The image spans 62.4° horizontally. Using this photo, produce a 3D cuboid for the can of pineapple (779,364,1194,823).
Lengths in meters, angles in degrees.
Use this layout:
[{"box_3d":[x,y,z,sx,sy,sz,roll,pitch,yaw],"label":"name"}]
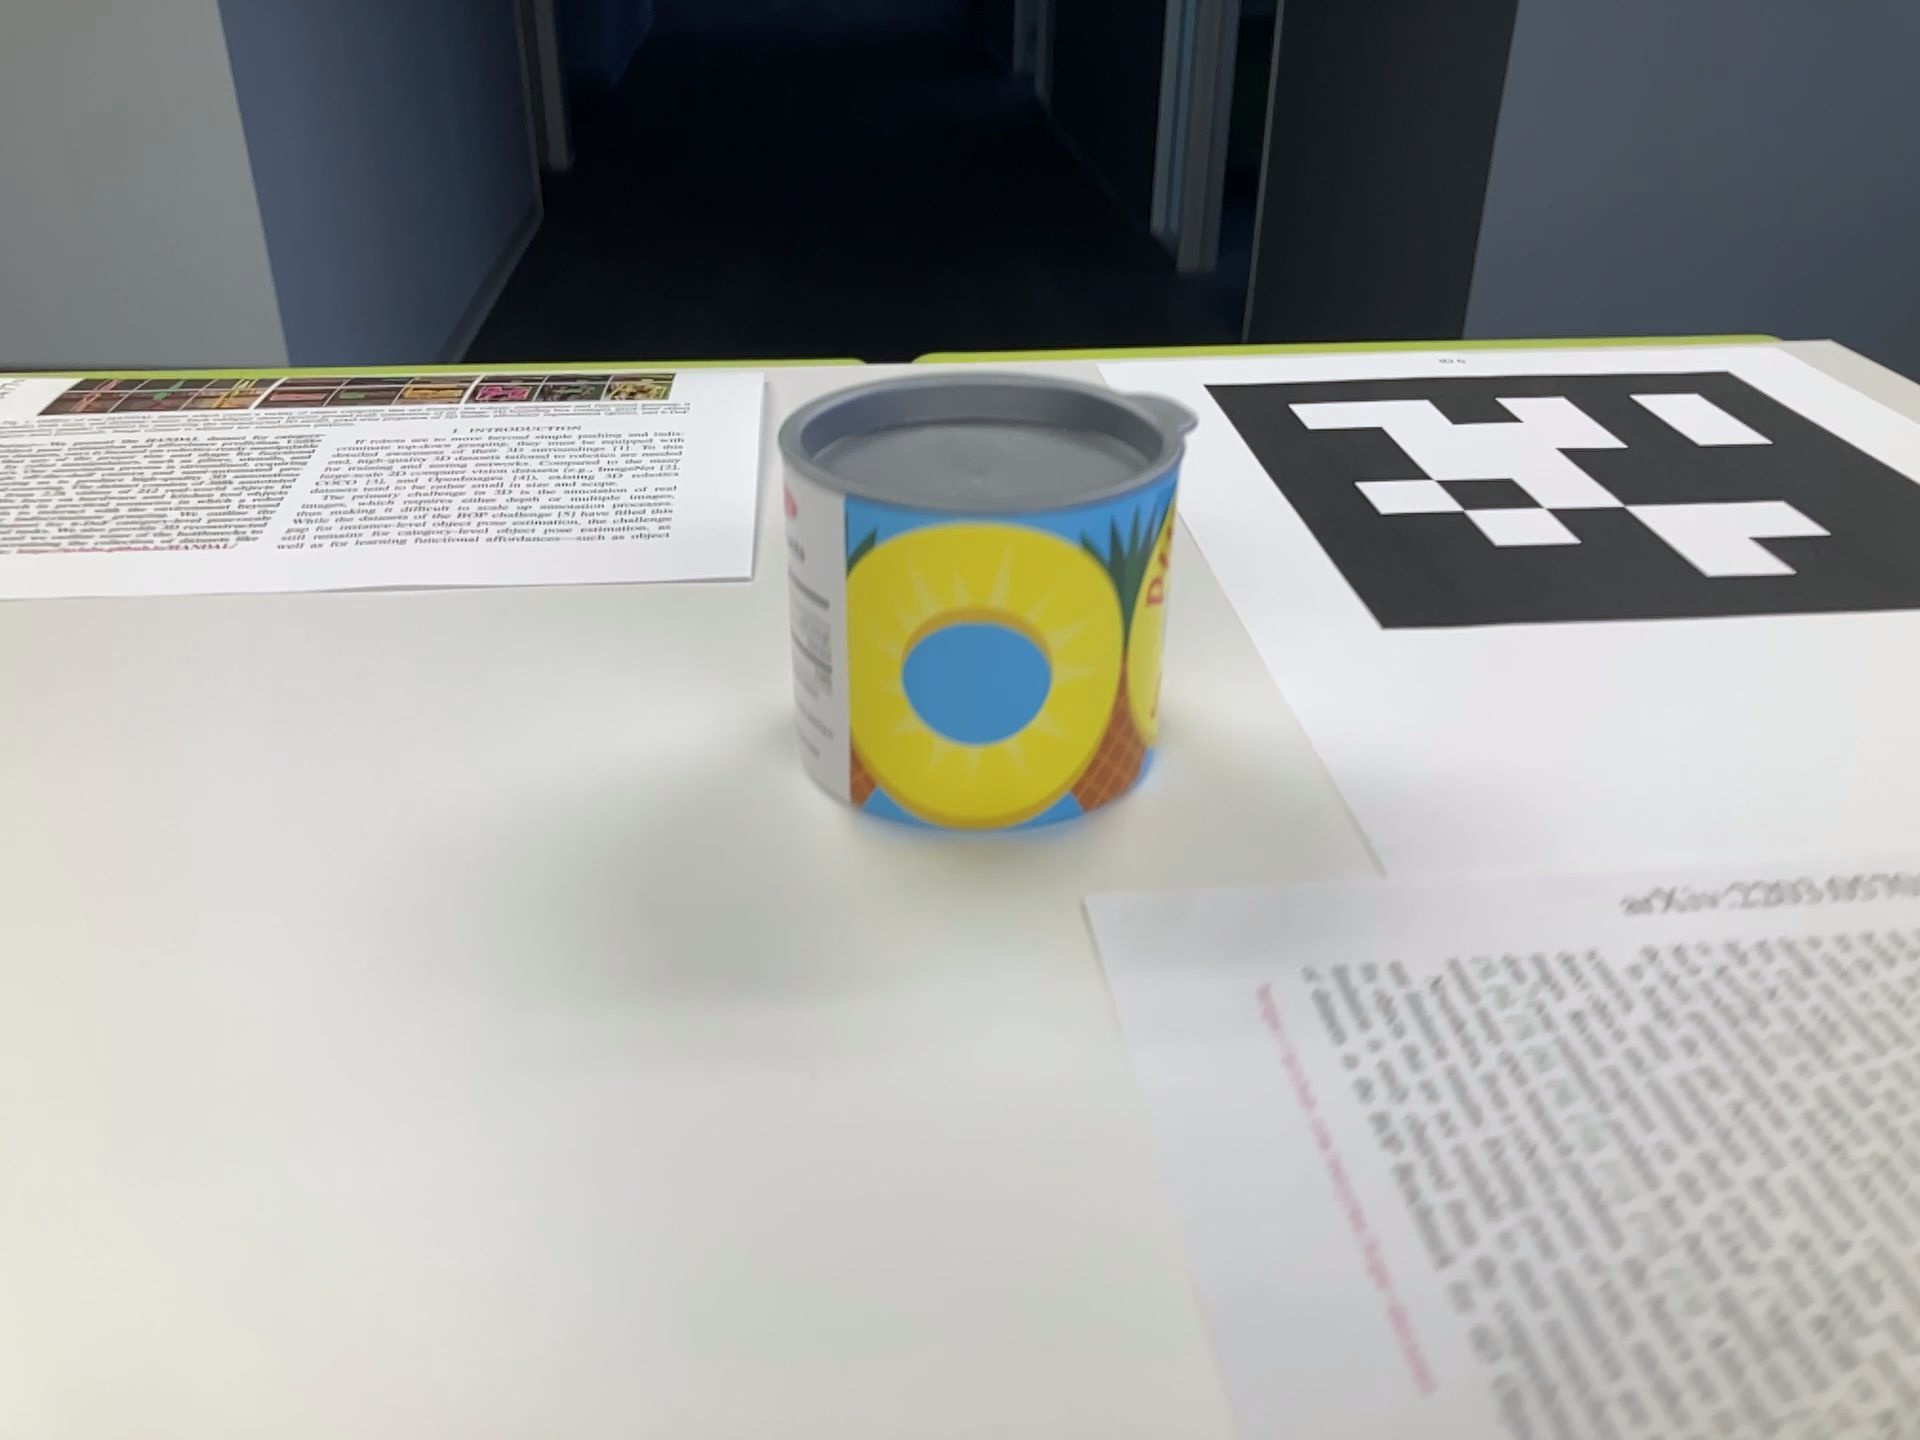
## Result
[{"box_3d":[0.005,-0.023,0.274,0.071,0.058,0.071,1,30,0],"label":"can of pineapple"}]
